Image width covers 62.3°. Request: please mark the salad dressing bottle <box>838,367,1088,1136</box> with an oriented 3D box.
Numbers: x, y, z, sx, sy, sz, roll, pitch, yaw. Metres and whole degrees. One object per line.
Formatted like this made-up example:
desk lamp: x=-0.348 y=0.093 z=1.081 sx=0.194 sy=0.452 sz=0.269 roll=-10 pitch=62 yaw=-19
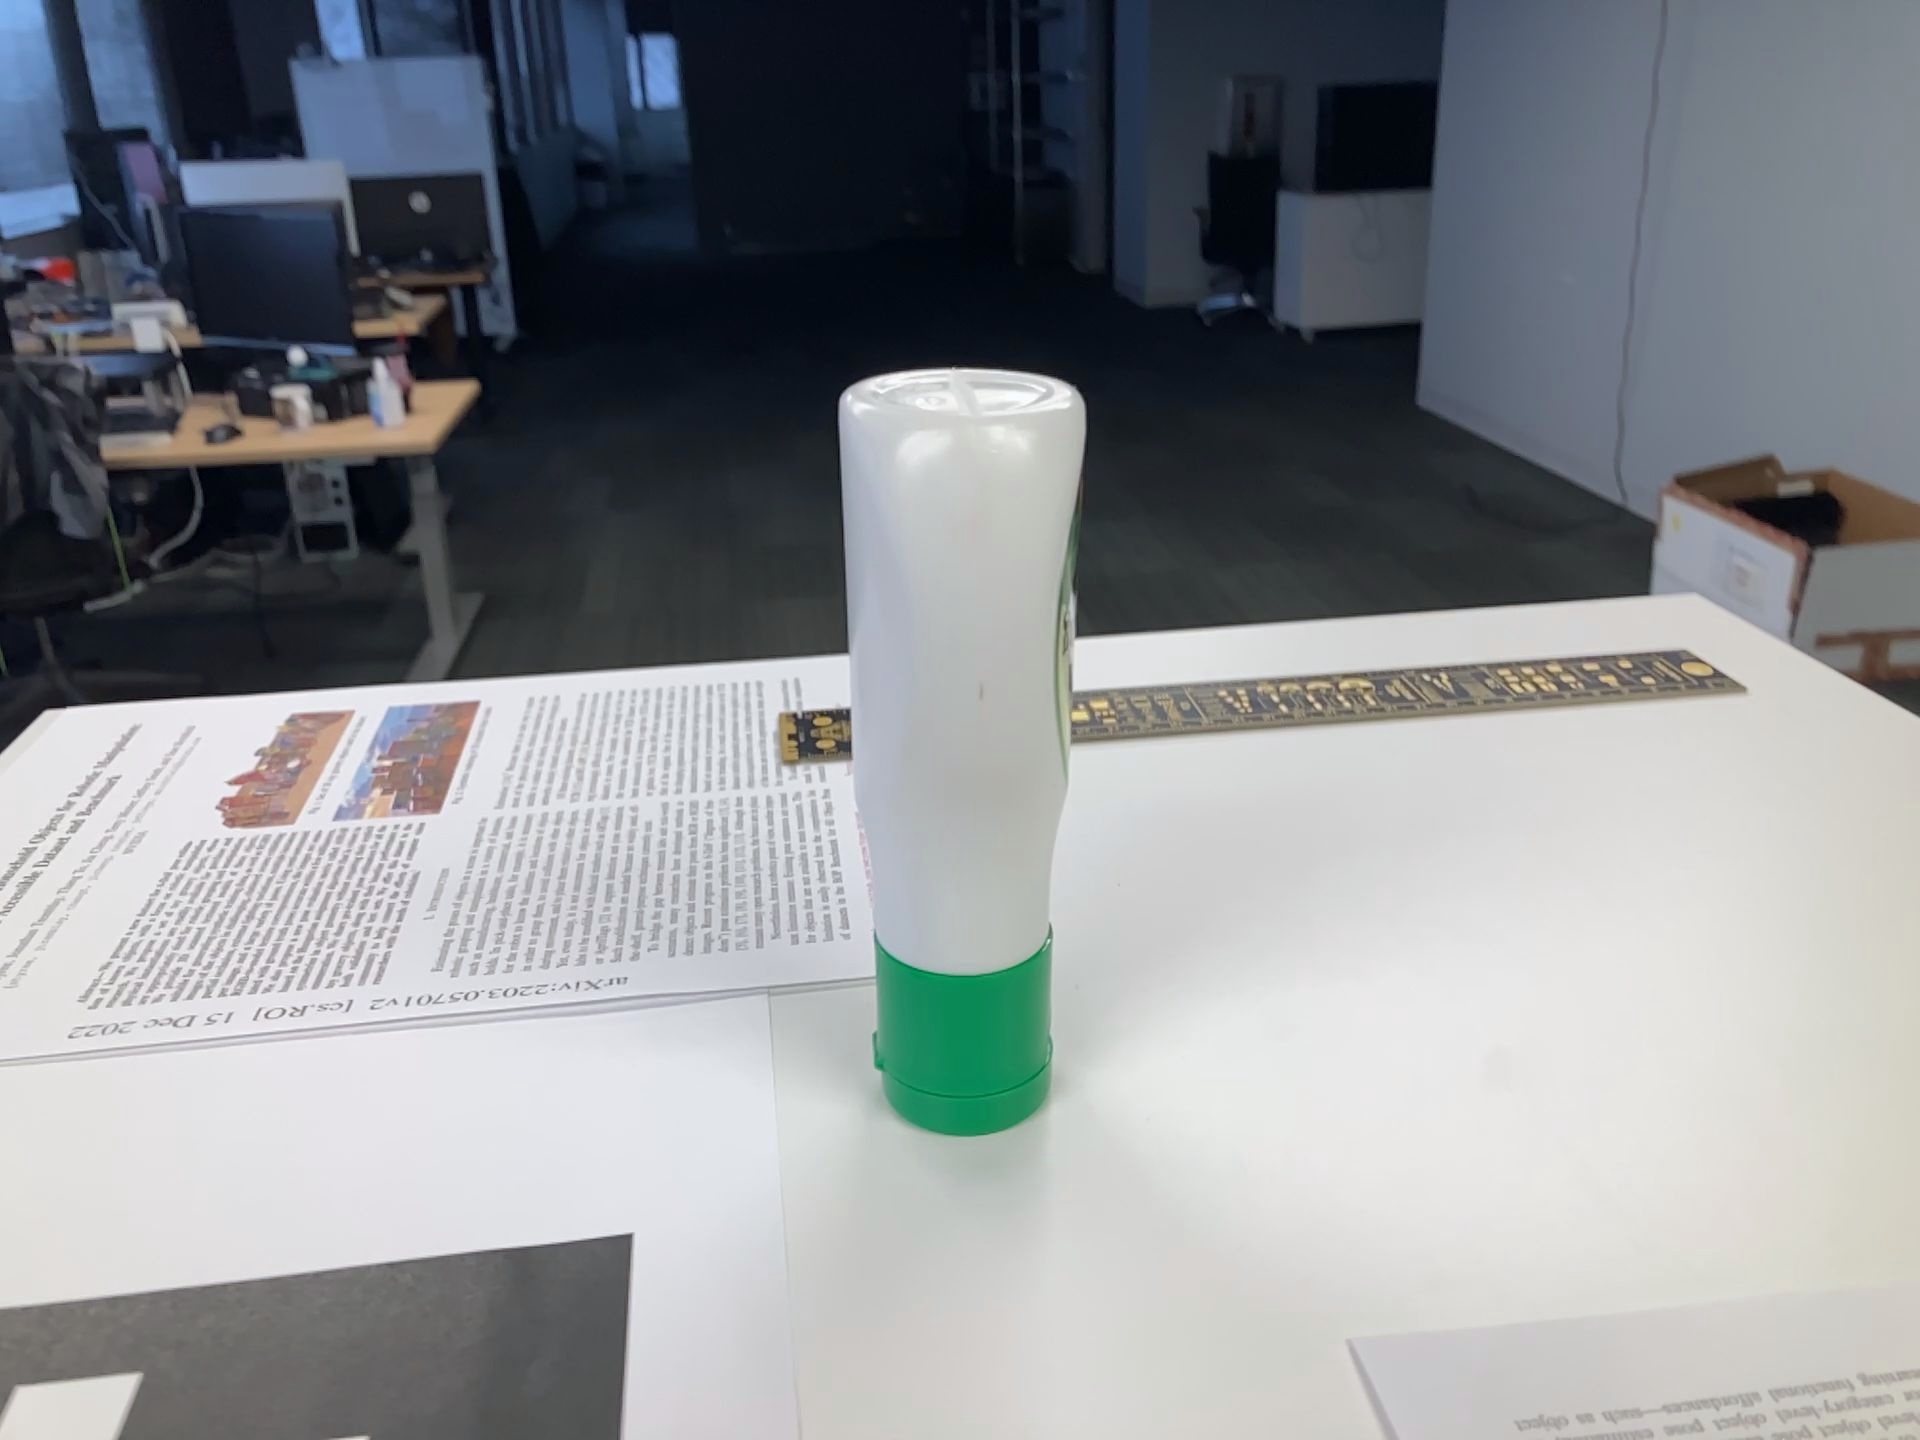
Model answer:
salad dressing bottle: x=0.001 y=0.009 z=0.307 sx=0.044 sy=0.147 sz=0.064 roll=-3 pitch=23 yaw=-6
